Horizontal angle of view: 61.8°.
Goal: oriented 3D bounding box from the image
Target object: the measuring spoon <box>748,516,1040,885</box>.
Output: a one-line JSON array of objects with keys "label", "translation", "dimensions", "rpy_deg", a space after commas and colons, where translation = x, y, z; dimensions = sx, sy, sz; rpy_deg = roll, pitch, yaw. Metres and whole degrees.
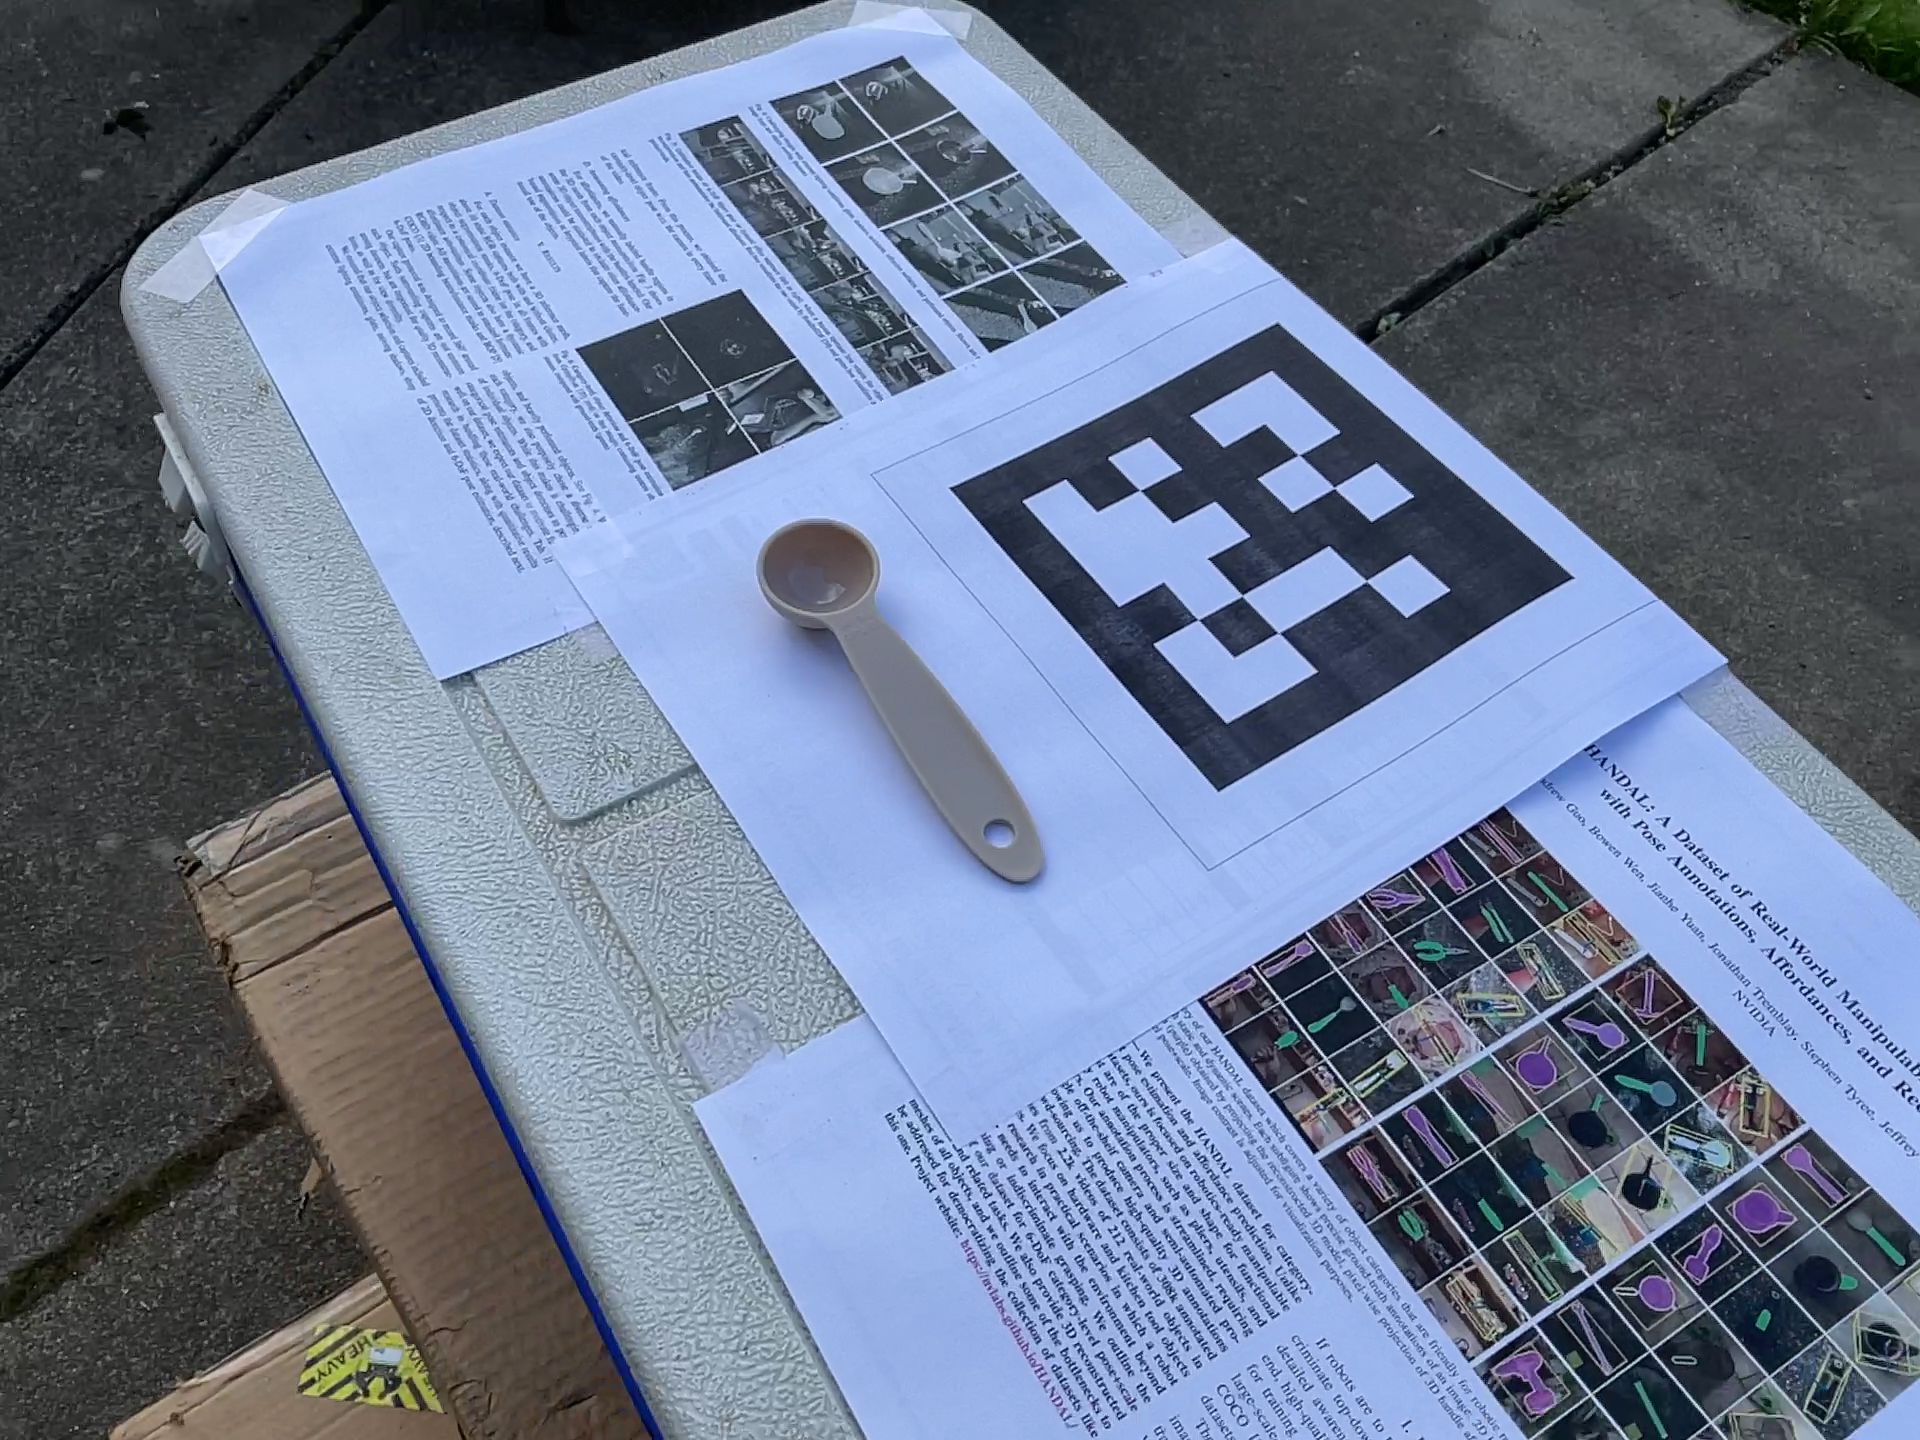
[{"label": "measuring spoon", "translation": [-0.017, -0.004, 0.423], "dimensions": [0.034, 0.018, 0.124], "rpy_deg": [-26, 66, -21]}]
